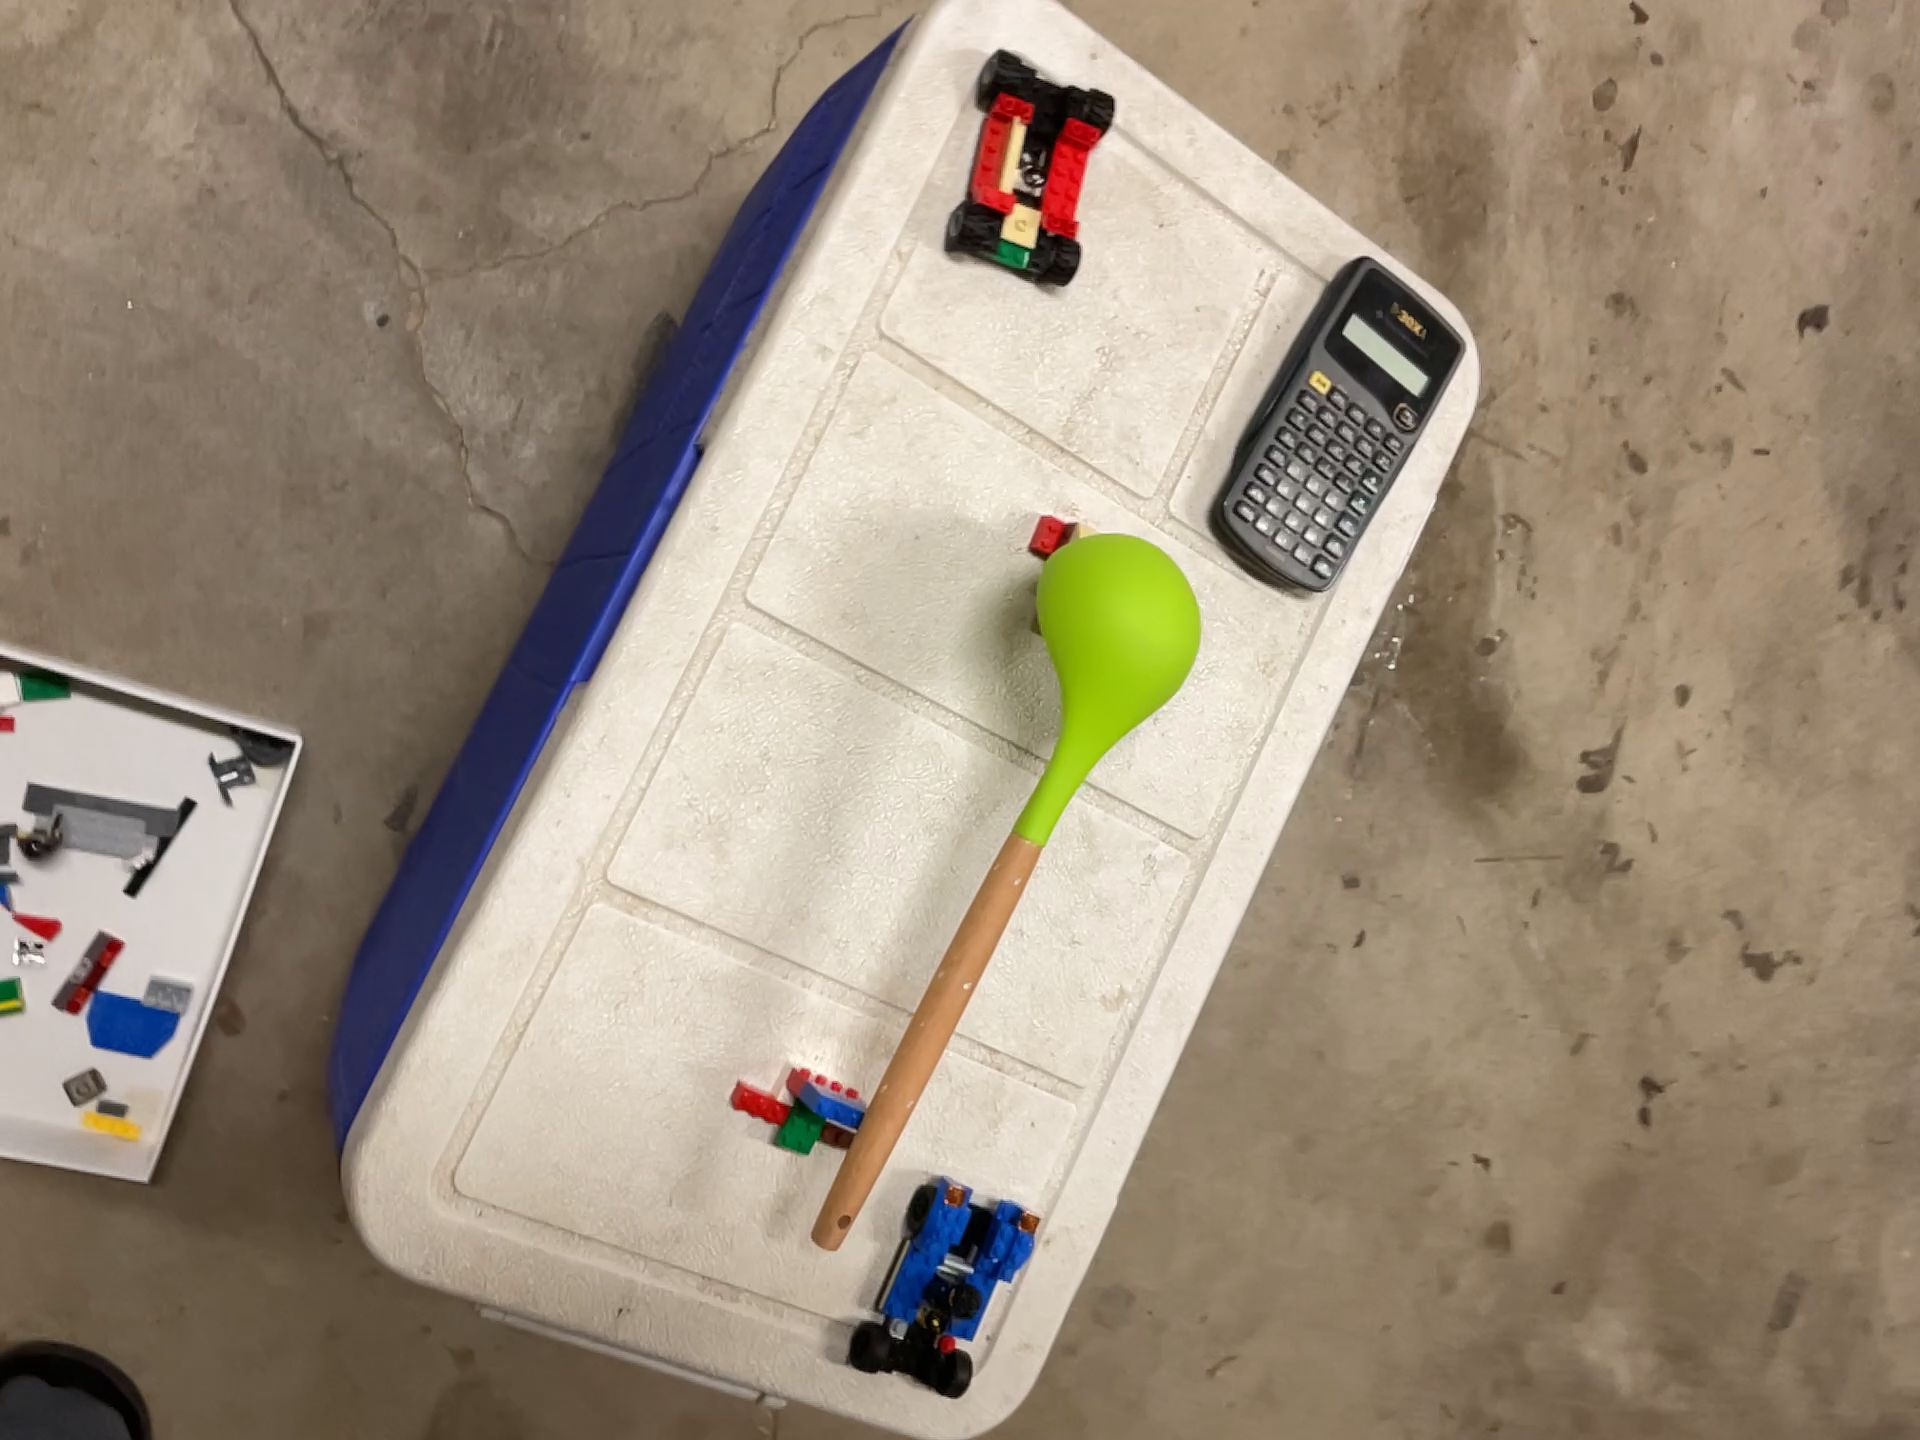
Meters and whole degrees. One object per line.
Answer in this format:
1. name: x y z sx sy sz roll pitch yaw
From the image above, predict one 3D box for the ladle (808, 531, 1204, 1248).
1. ladle: 0.011 0.069 0.665 0.078 0.062 0.320 27 91 -29
